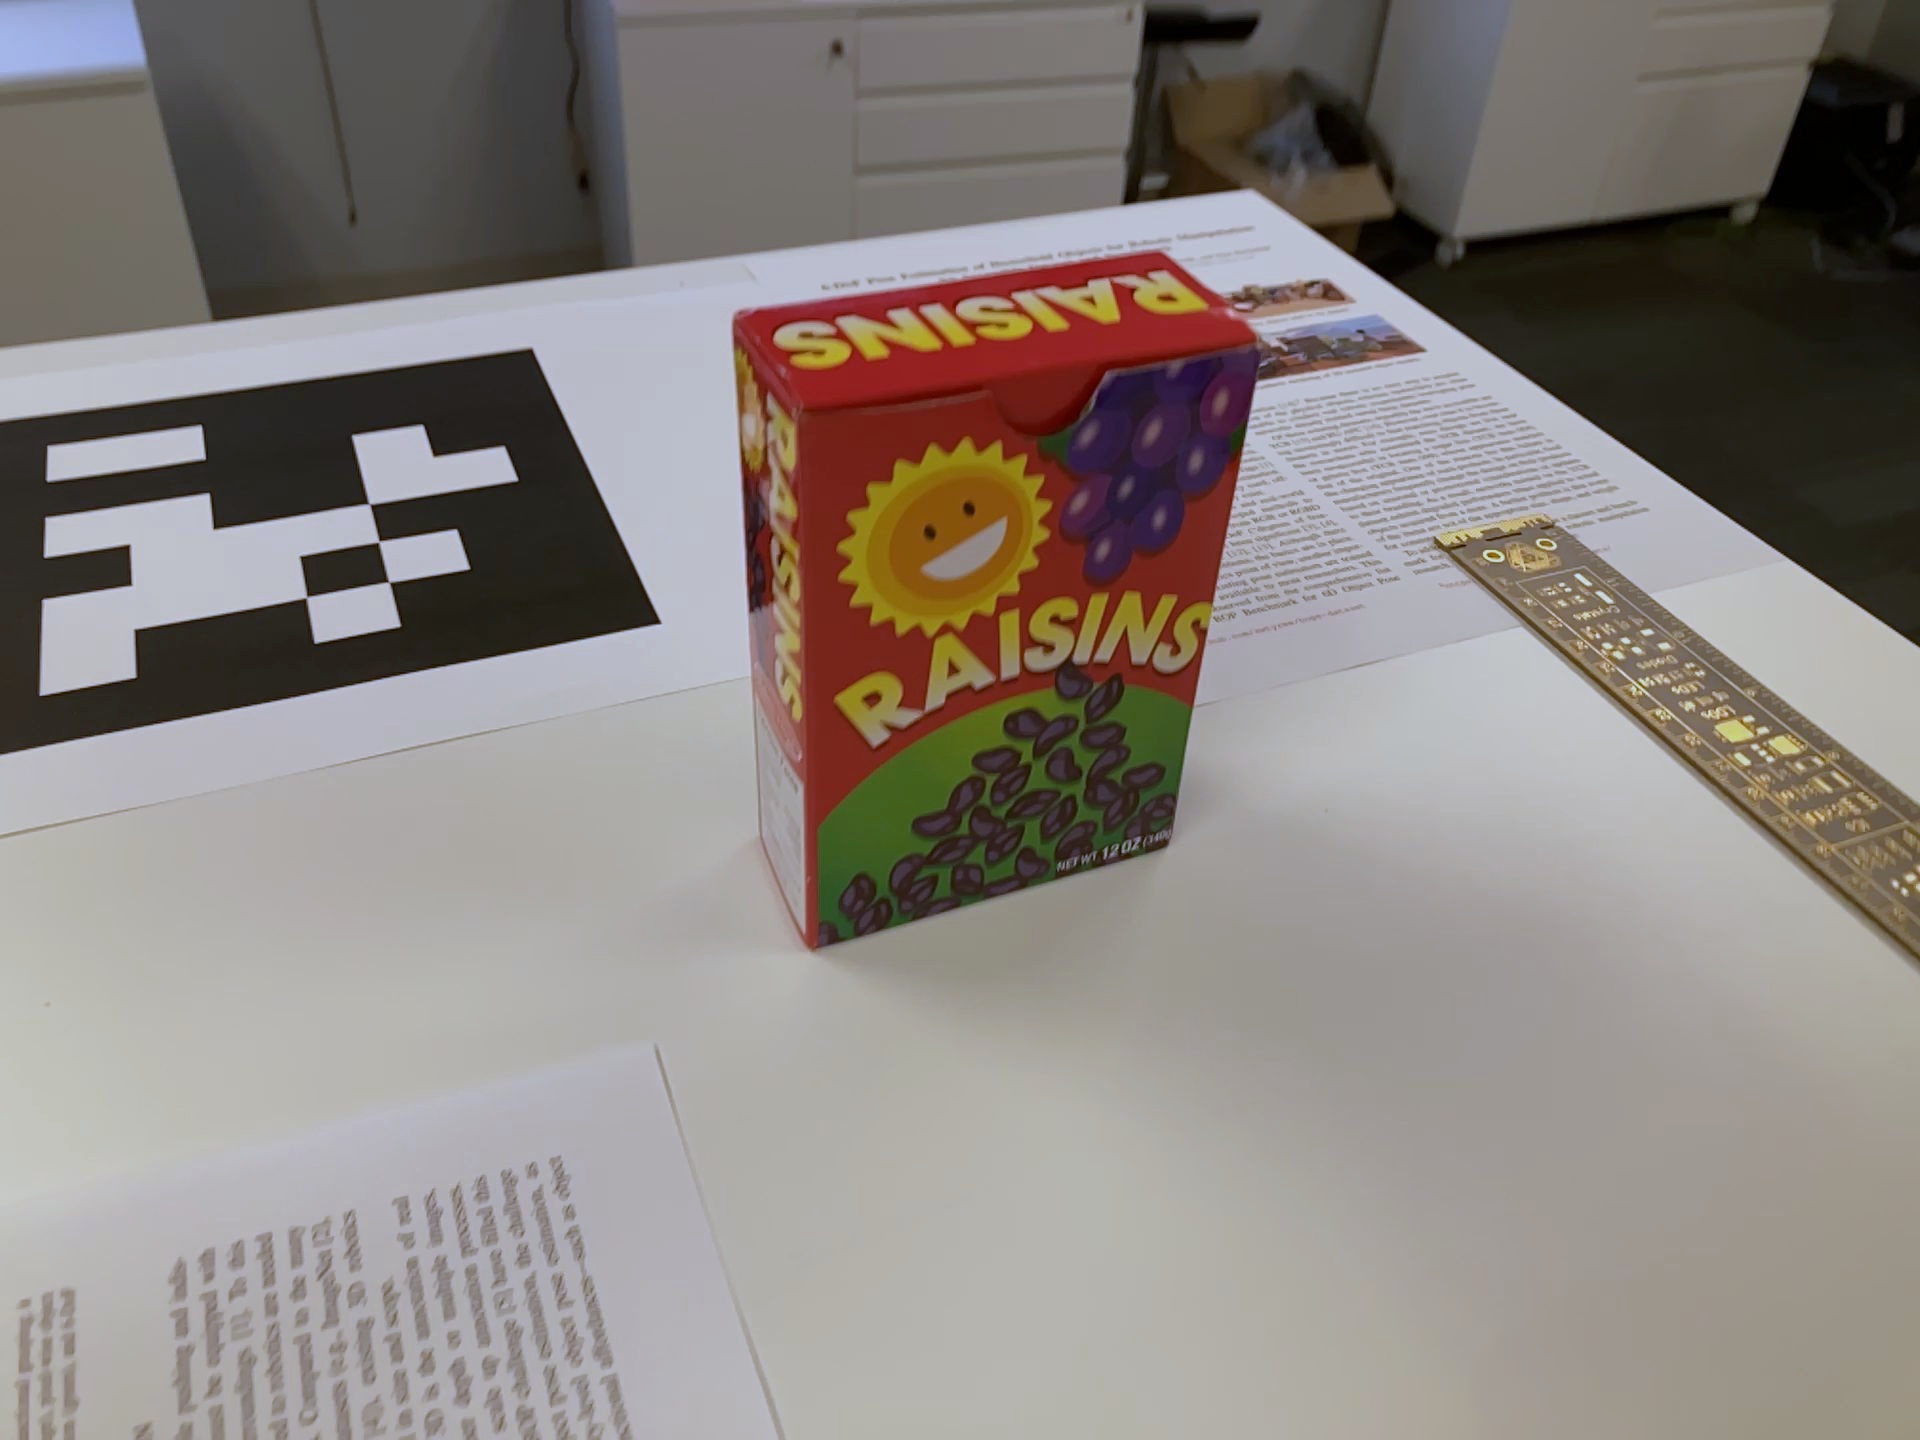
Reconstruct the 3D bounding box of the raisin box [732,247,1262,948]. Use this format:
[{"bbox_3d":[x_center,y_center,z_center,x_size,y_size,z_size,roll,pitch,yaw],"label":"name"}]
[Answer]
[{"bbox_3d":[0.003,-0.021,0.305,0.086,0.123,0.040,-13,41,-19],"label":"raisin box"}]
